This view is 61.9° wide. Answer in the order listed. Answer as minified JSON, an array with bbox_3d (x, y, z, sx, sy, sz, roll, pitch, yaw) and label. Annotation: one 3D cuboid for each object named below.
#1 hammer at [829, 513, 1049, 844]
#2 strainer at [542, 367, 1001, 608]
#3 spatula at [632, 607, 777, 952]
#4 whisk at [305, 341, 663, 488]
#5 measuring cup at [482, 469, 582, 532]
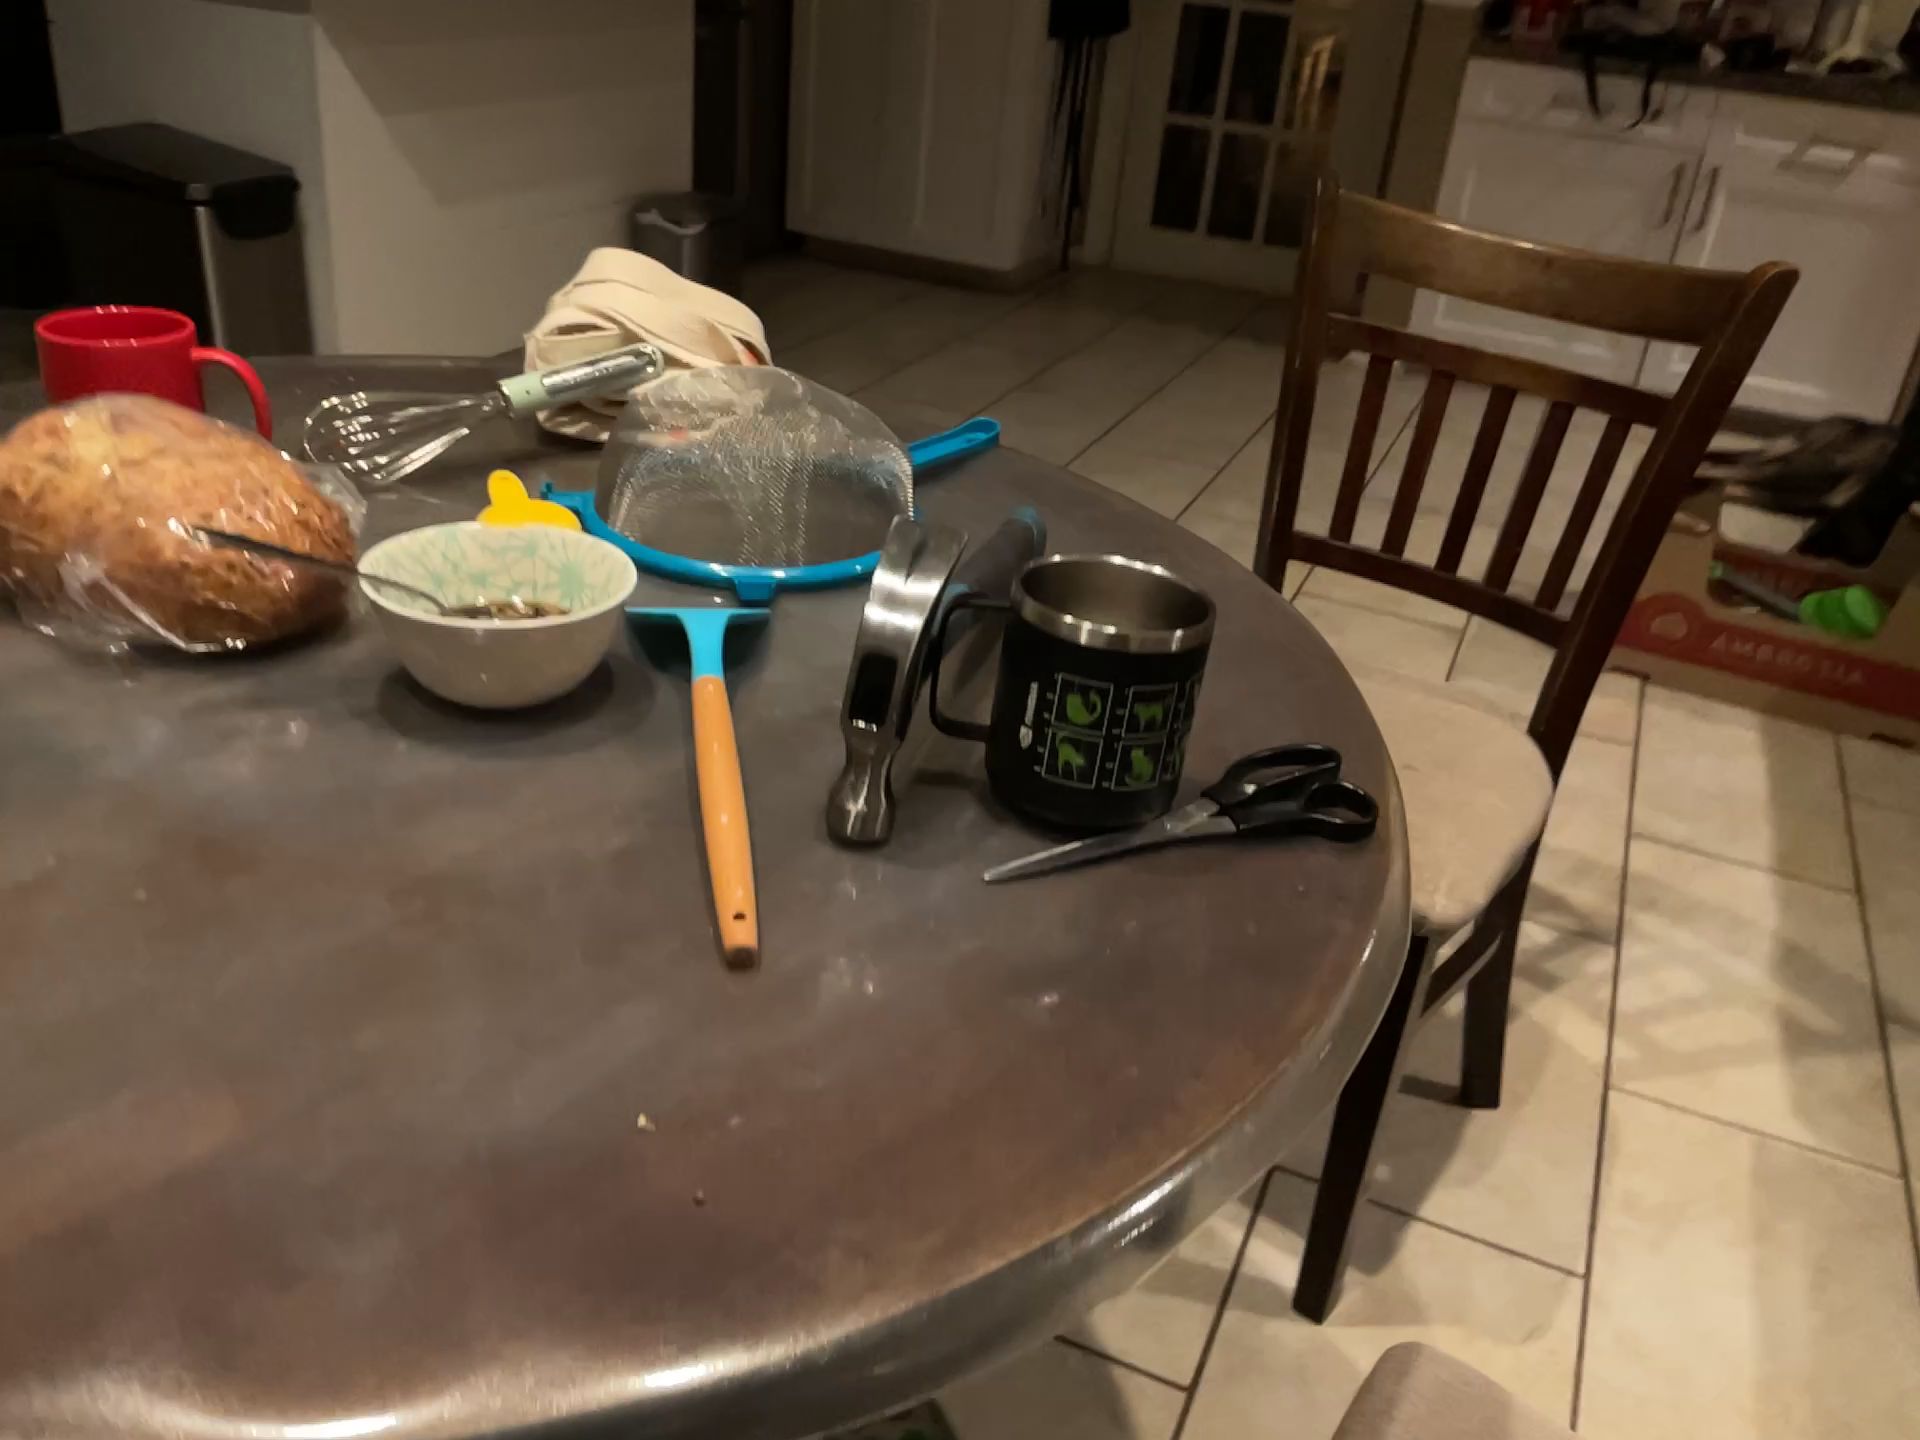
[{"bbox_3d":[0.002,-0.055,0.804,0.033,0.128,0.331,14,20,9],"label":"hammer"},{"bbox_3d":[-0.082,-0.182,1.014,0.211,0.095,0.340,26,38,31],"label":"strainer"},{"bbox_3d":[-0.111,0.006,0.733,0.082,0.044,0.318,1,32,-13],"label":"spatula"},{"bbox_3d":[-0.298,-0.204,1.026,0.246,0.058,0.059,-26,10,-33],"label":"whisk"},{"bbox_3d":[-0.258,-0.128,0.939,0.062,0.029,0.157,-5,31,-21],"label":"measuring cup"}]
